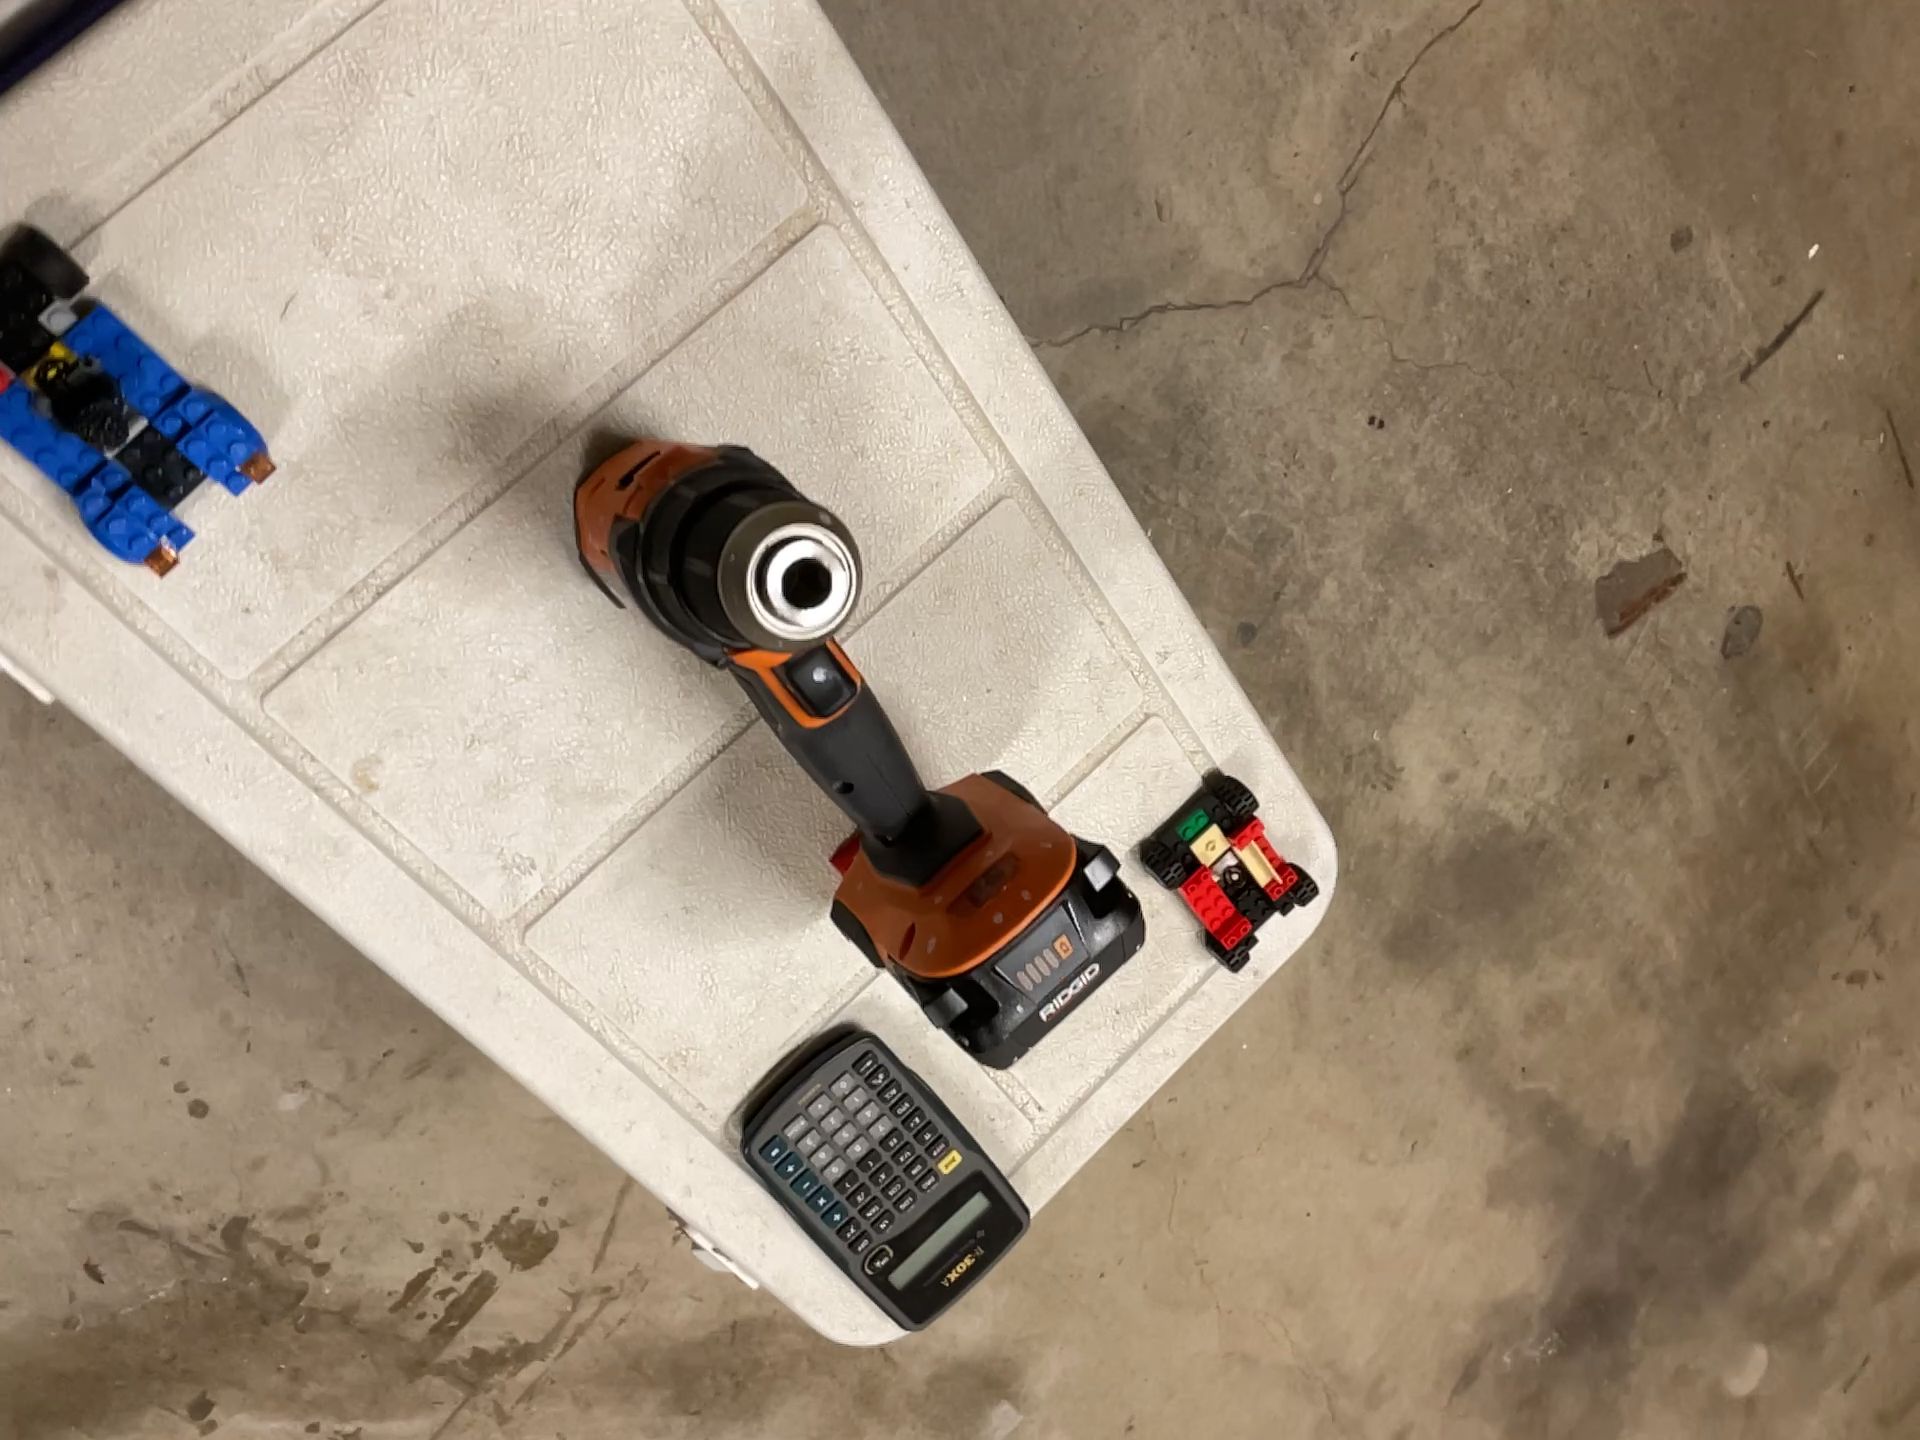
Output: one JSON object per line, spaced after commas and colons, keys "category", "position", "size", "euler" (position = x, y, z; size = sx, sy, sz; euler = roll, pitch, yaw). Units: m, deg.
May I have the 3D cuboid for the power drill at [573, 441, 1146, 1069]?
{"category": "power drill", "position": [-0.031, 0.007, 0.518], "size": [0.084, 0.185, 0.226], "euler": [-41, 112, -11]}
